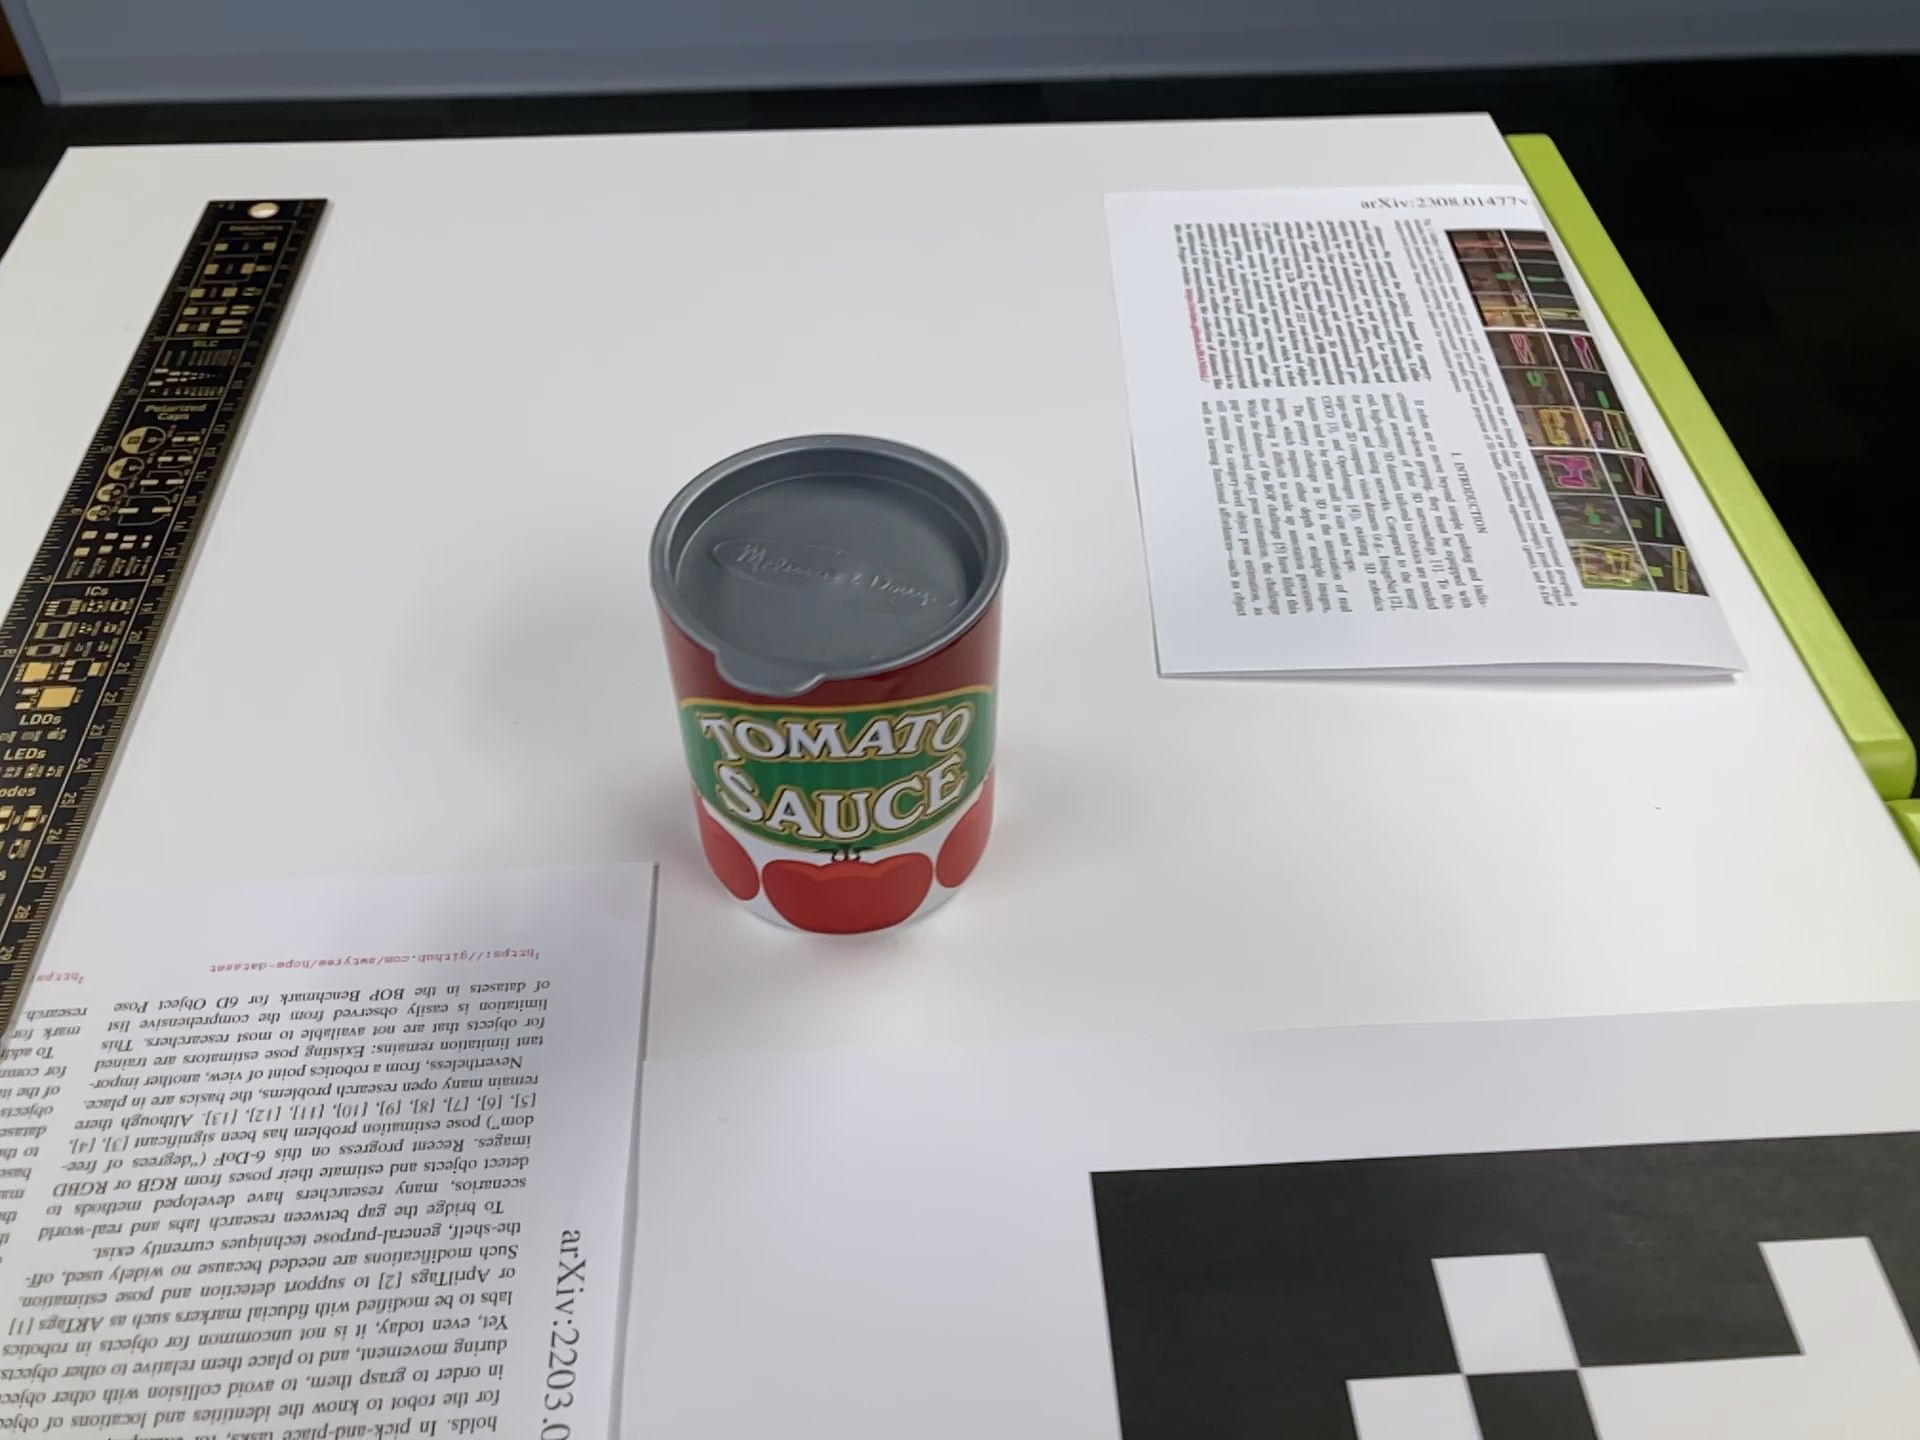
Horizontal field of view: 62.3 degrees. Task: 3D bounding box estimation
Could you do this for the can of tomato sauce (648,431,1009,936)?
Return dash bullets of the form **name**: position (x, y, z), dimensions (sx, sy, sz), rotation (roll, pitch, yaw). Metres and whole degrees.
- **can of tomato sauce**: position (-0.025, -0.004, 0.323), dimensions (0.071, 0.083, 0.071), rotation (0, 48, 0)
